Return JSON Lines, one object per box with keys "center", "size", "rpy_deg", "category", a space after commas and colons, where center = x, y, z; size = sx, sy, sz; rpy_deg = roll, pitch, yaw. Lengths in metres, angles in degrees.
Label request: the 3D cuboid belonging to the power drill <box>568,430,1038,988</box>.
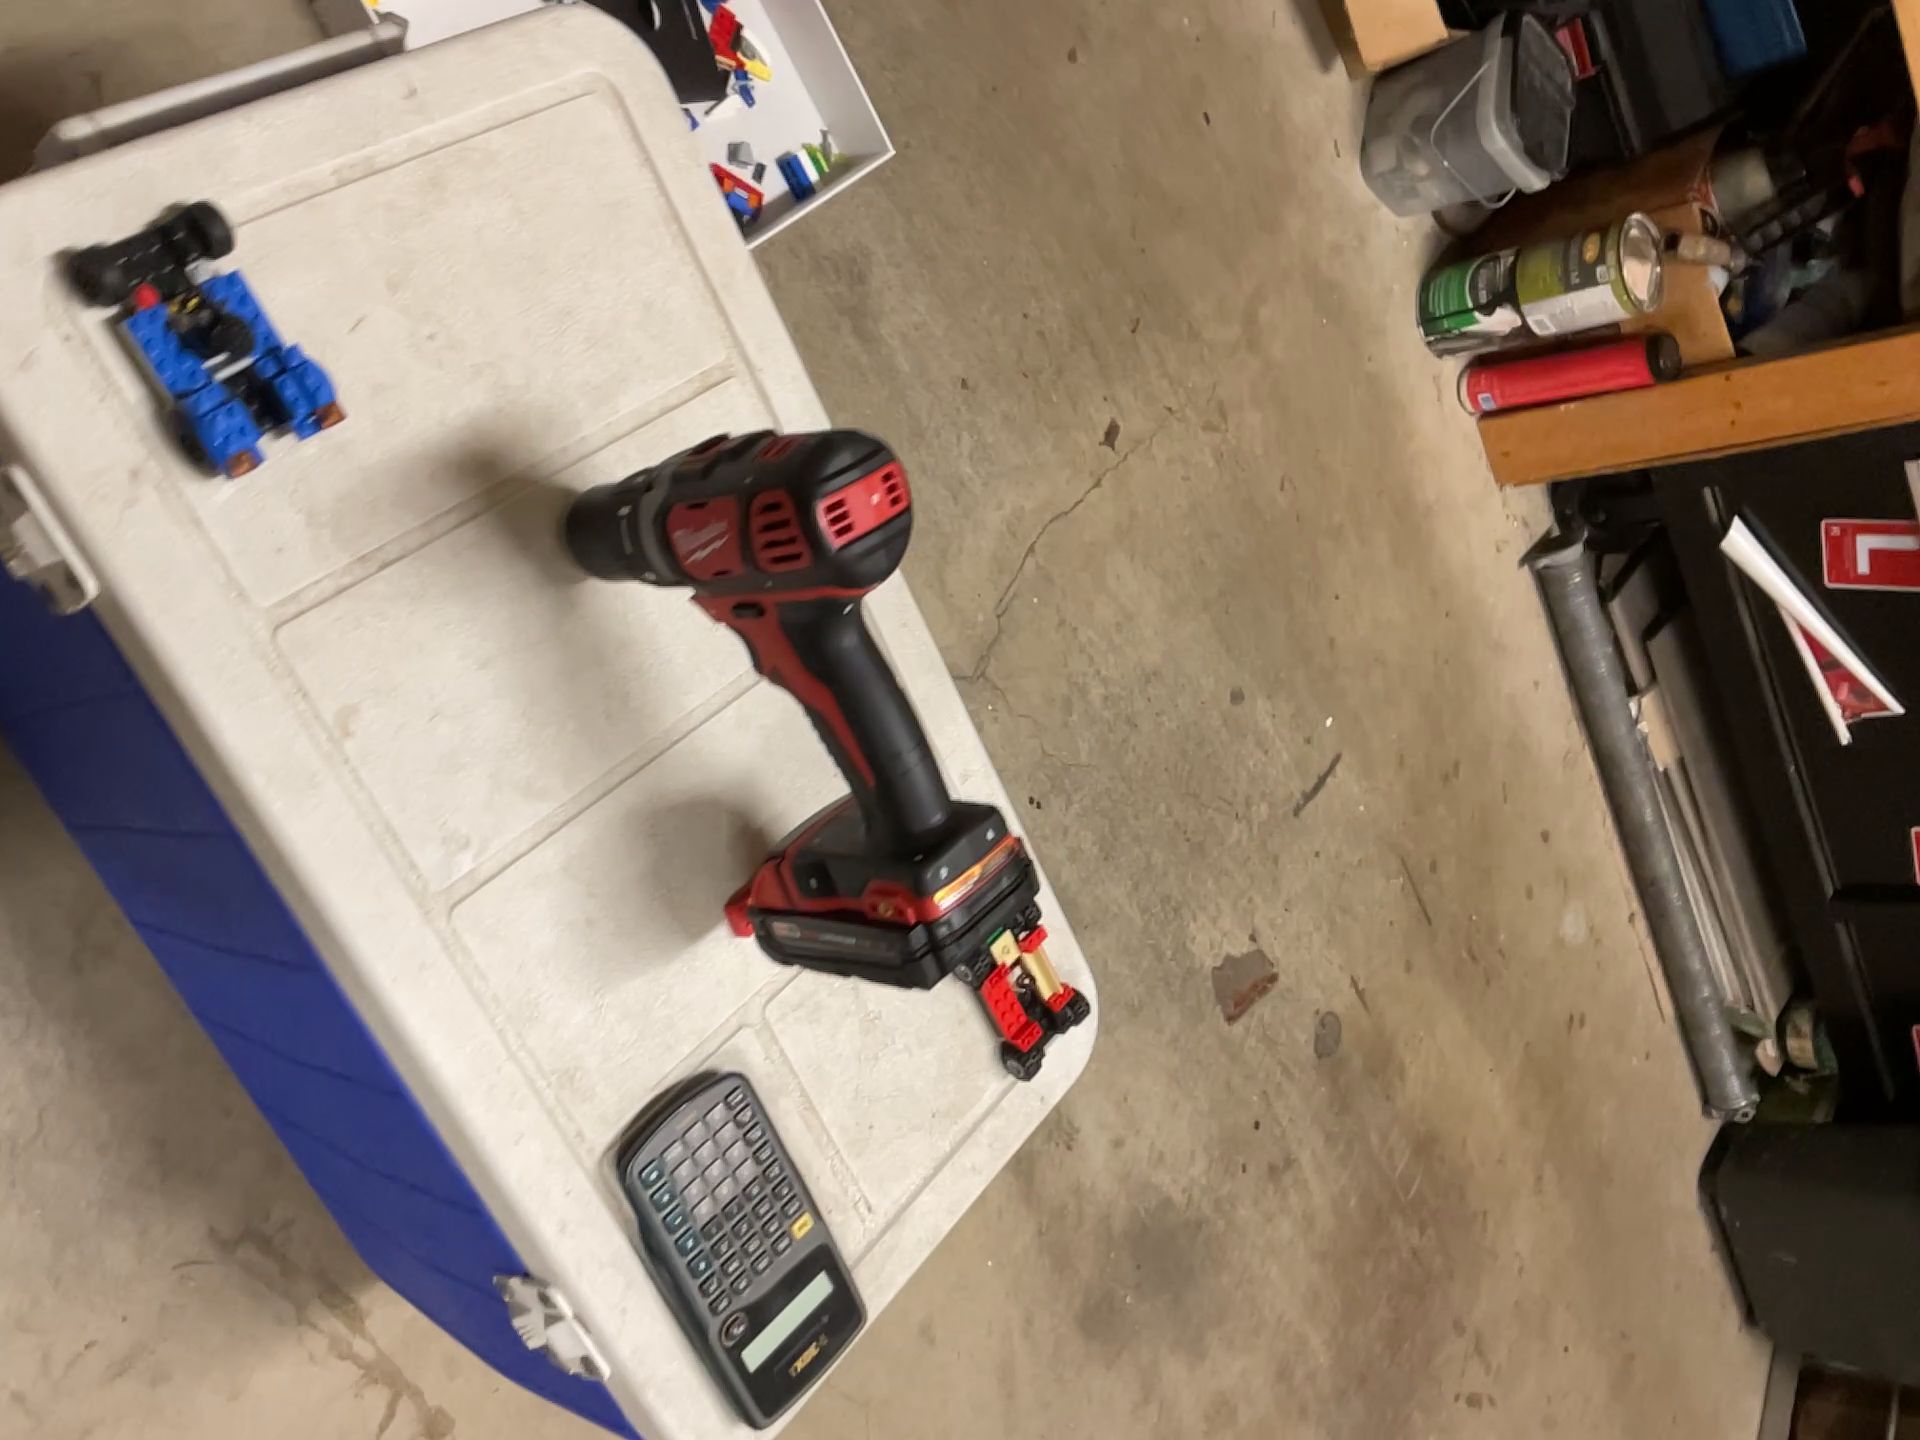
{"center": [-0.075, -0.010, 0.674], "size": [0.080, 0.188, 0.226], "rpy_deg": [-35, 116, -38], "category": "power drill"}
